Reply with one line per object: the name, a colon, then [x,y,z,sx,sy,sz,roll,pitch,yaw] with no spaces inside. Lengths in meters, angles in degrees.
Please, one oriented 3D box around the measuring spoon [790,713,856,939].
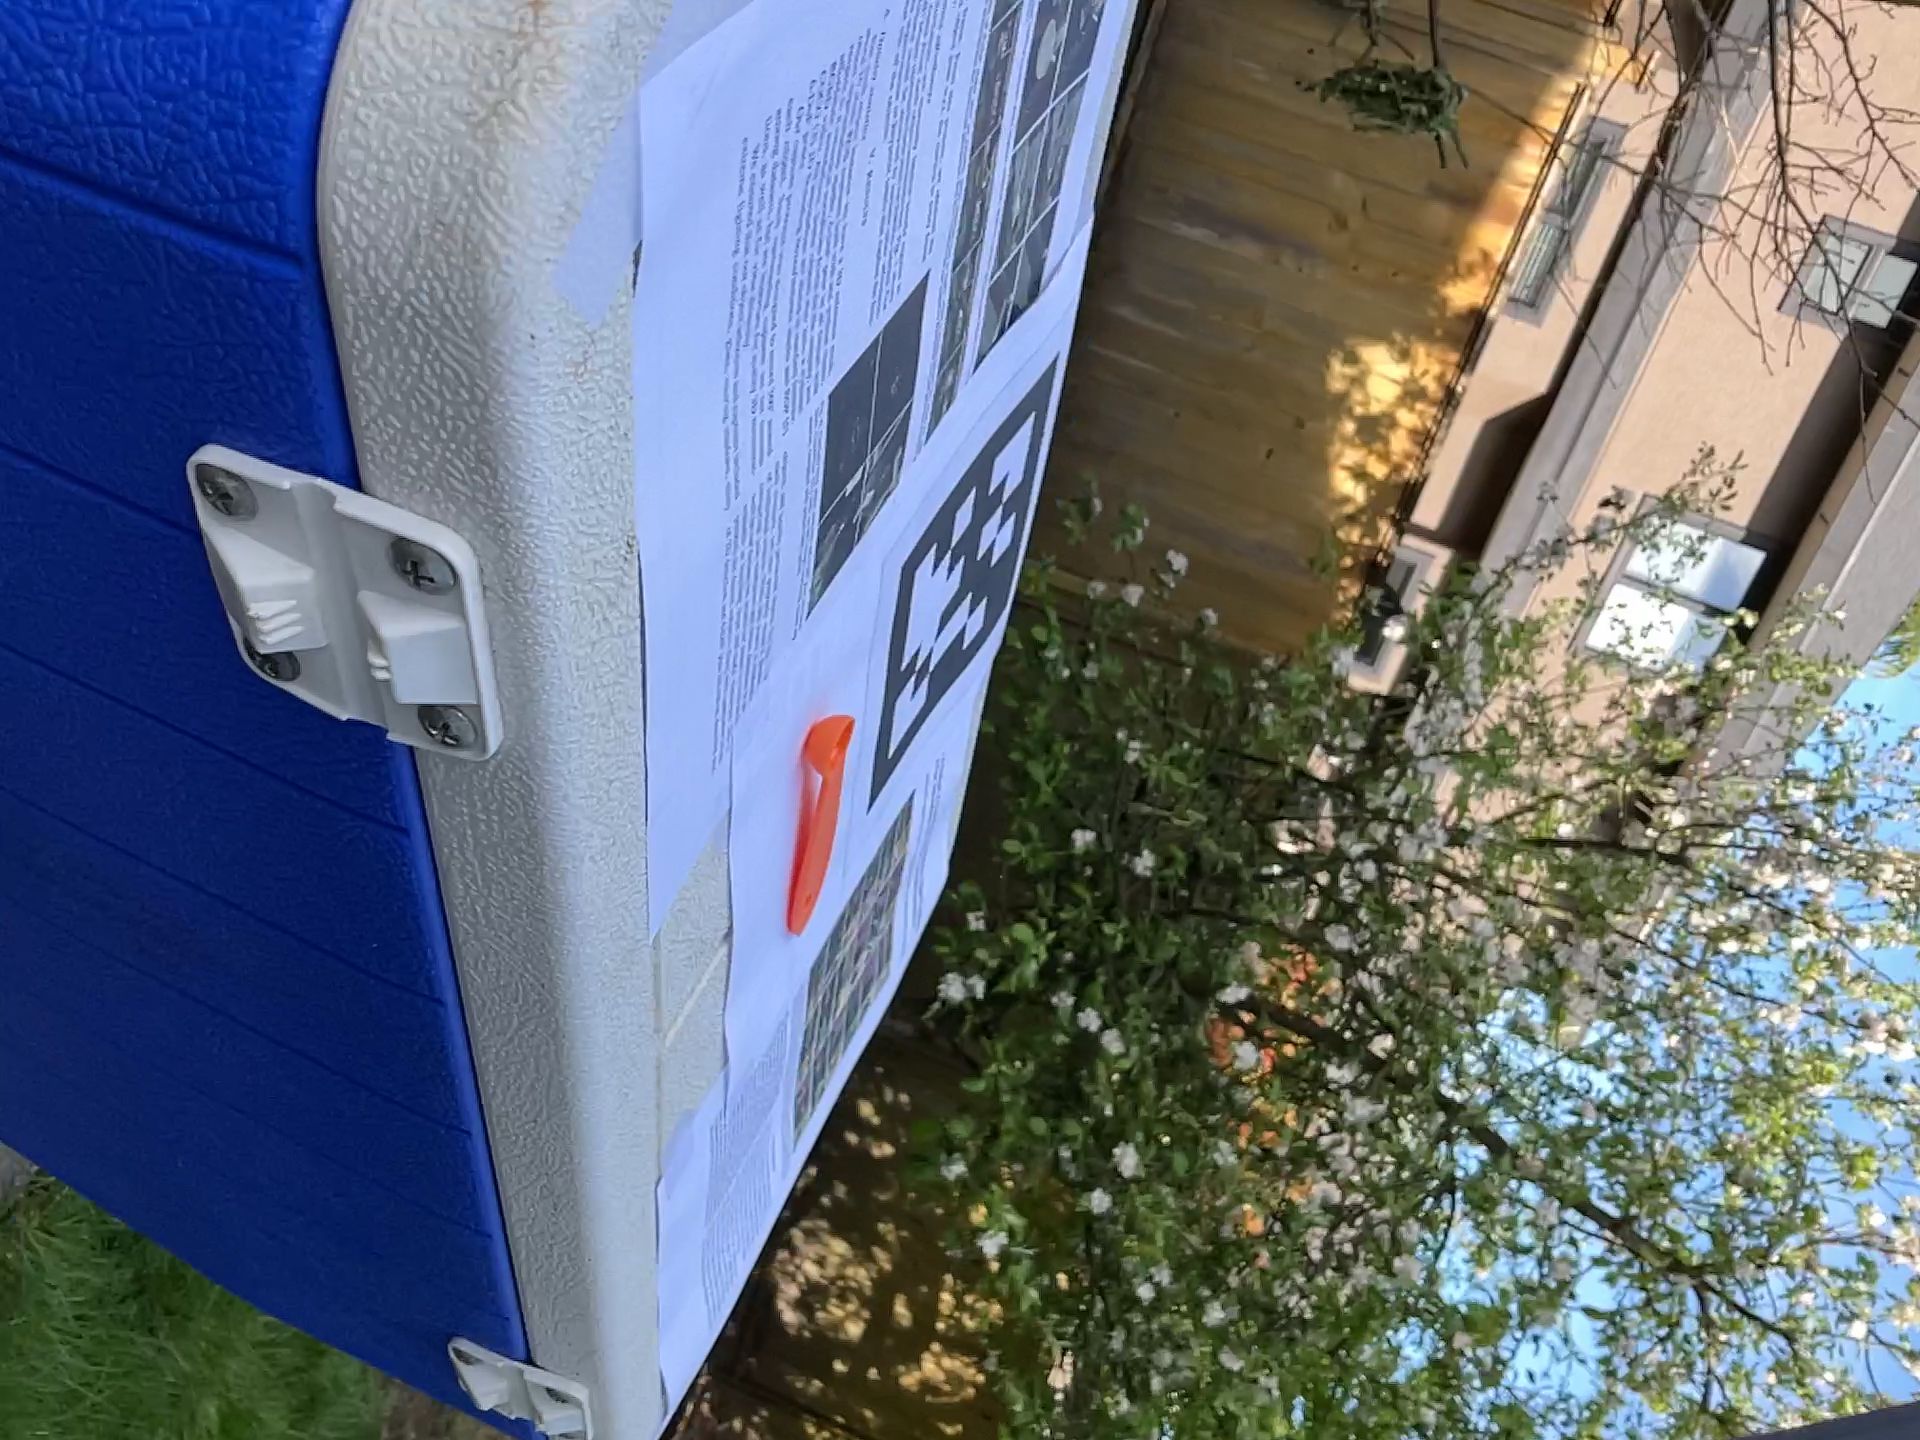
measuring spoon: [-0.047,0.035,0.495,0.116,0.011,0.021,106,10,-52]
